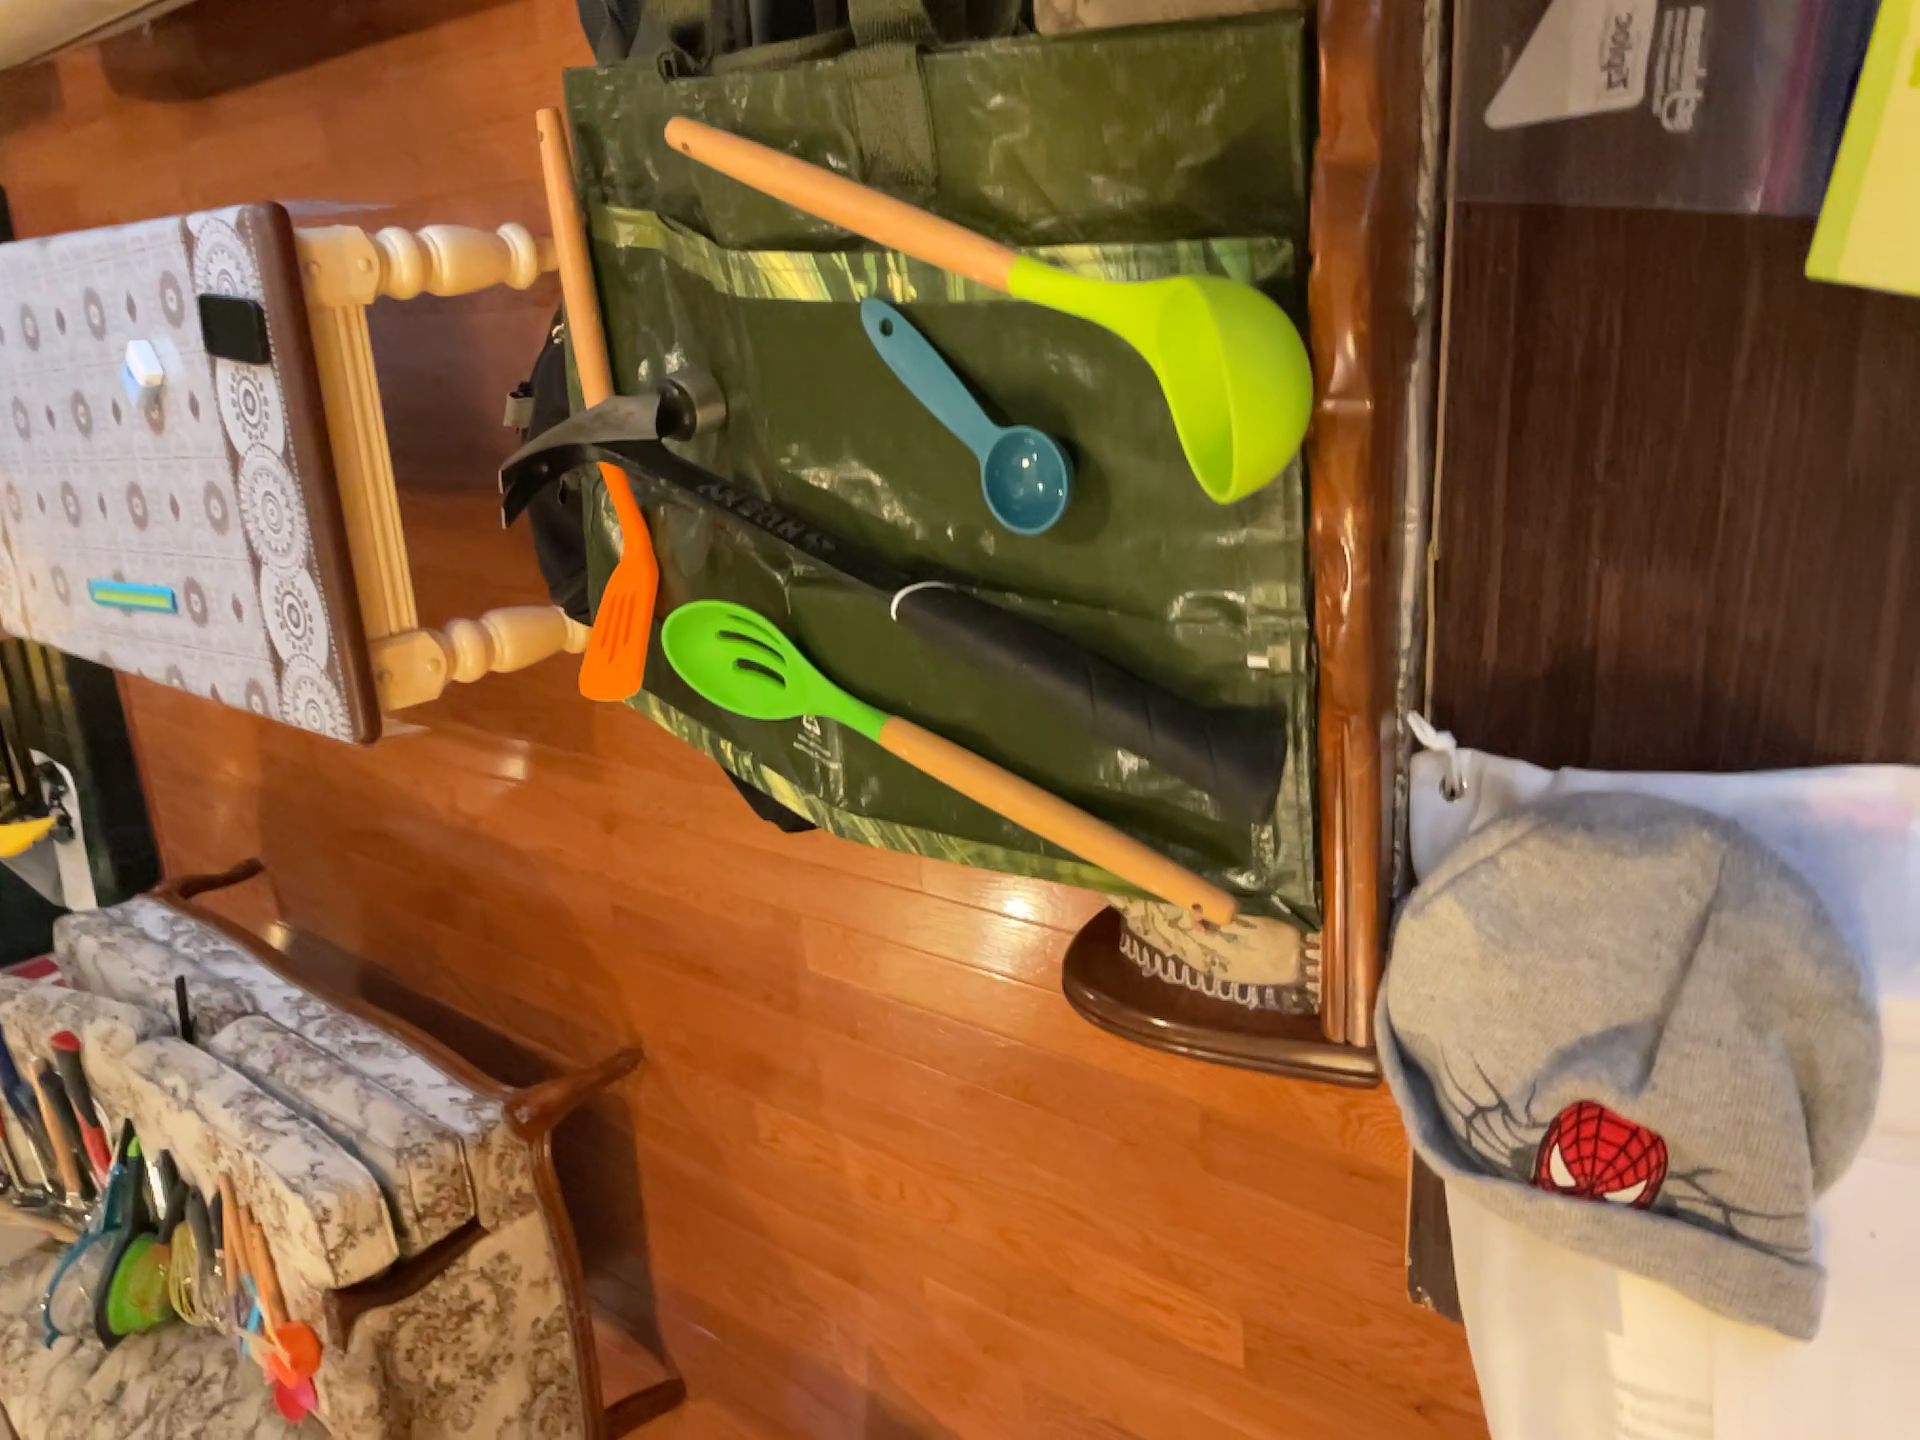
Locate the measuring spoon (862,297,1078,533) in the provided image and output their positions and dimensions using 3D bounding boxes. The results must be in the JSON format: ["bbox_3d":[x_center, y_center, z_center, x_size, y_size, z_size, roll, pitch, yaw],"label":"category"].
[{"bbox_3d":[0.005,-0.128,0.642,0.129,0.021,0.042,50,131,18],"label":"measuring spoon"}]

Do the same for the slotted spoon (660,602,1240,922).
[{"bbox_3d":[-0.012,0.017,0.731,0.314,0.031,0.070,26,137,25],"label":"slotted spoon"}]

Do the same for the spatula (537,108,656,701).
[{"bbox_3d":[-0.208,-0.173,0.882,0.081,0.041,0.322,1,102,52],"label":"spatula"}]

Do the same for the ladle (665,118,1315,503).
[{"bbox_3d":[-0.006,-0.173,0.608,0.320,0.062,0.078,30,149,26],"label":"ladle"}]

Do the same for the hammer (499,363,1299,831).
[{"bbox_3d":[-0.032,-0.058,0.703,0.409,0.149,0.036,29,132,26],"label":"hammer"}]
